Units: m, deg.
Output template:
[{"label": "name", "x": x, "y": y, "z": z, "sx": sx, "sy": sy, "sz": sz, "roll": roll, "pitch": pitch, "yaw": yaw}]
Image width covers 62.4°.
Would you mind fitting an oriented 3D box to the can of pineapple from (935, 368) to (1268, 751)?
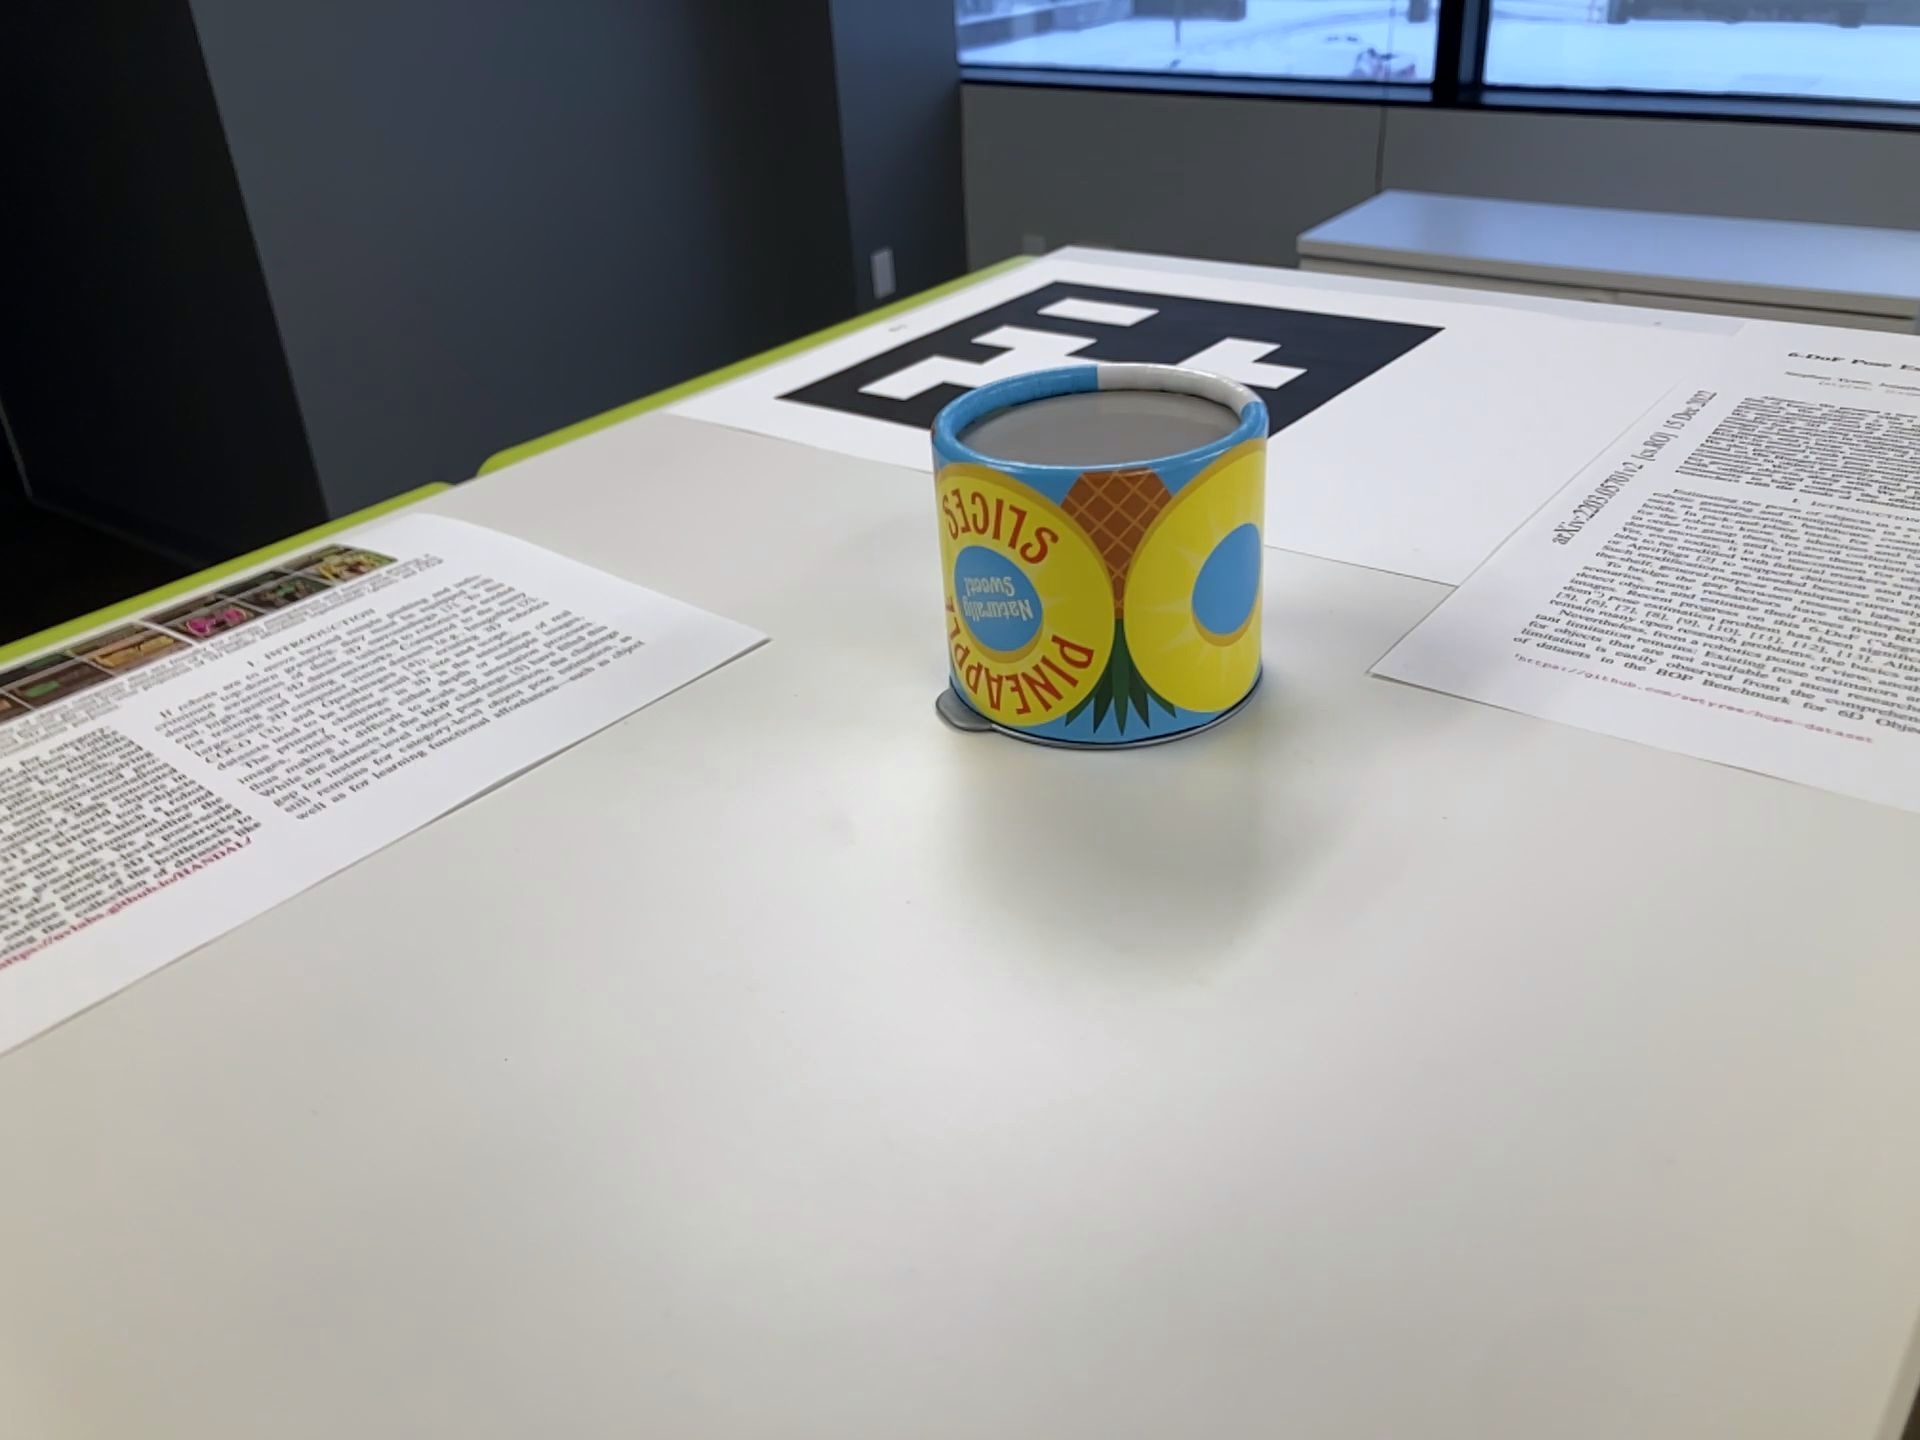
[{"label": "can of pineapple", "x": 0.028, "y": -0.034, "z": 0.323, "sx": 0.071, "sy": 0.058, "sz": 0.071, "roll": -4, "pitch": 29, "yaw": 2}]
